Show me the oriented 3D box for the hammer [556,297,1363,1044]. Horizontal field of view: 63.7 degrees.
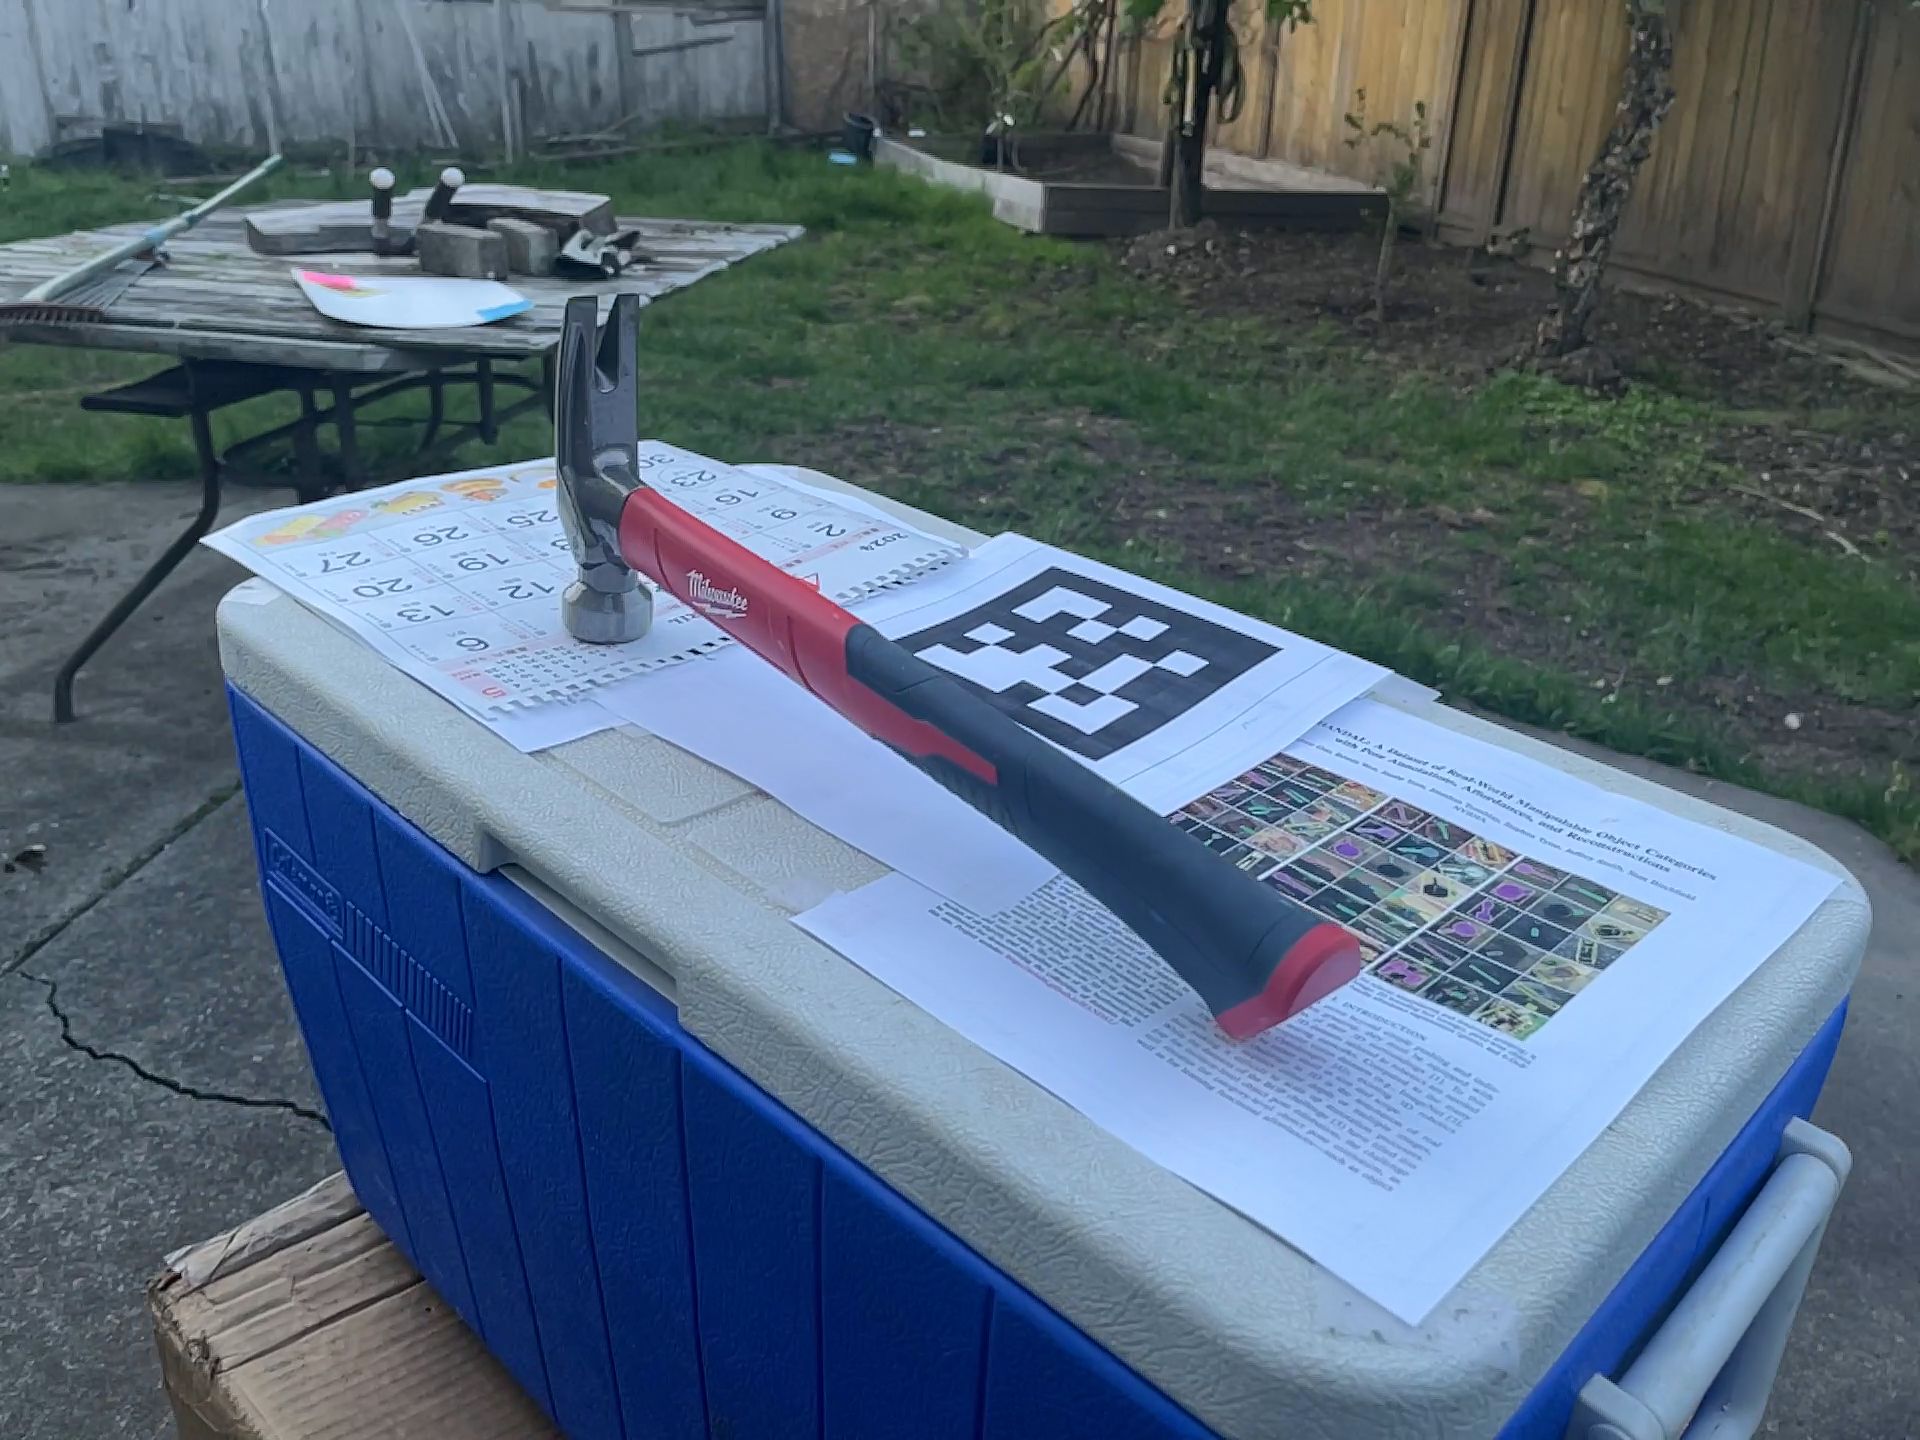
[{"bbox_3d":[-0.028,-0.025,0.520,0.038,0.143,0.386,-19,38,-38],"label":"hammer"}]
